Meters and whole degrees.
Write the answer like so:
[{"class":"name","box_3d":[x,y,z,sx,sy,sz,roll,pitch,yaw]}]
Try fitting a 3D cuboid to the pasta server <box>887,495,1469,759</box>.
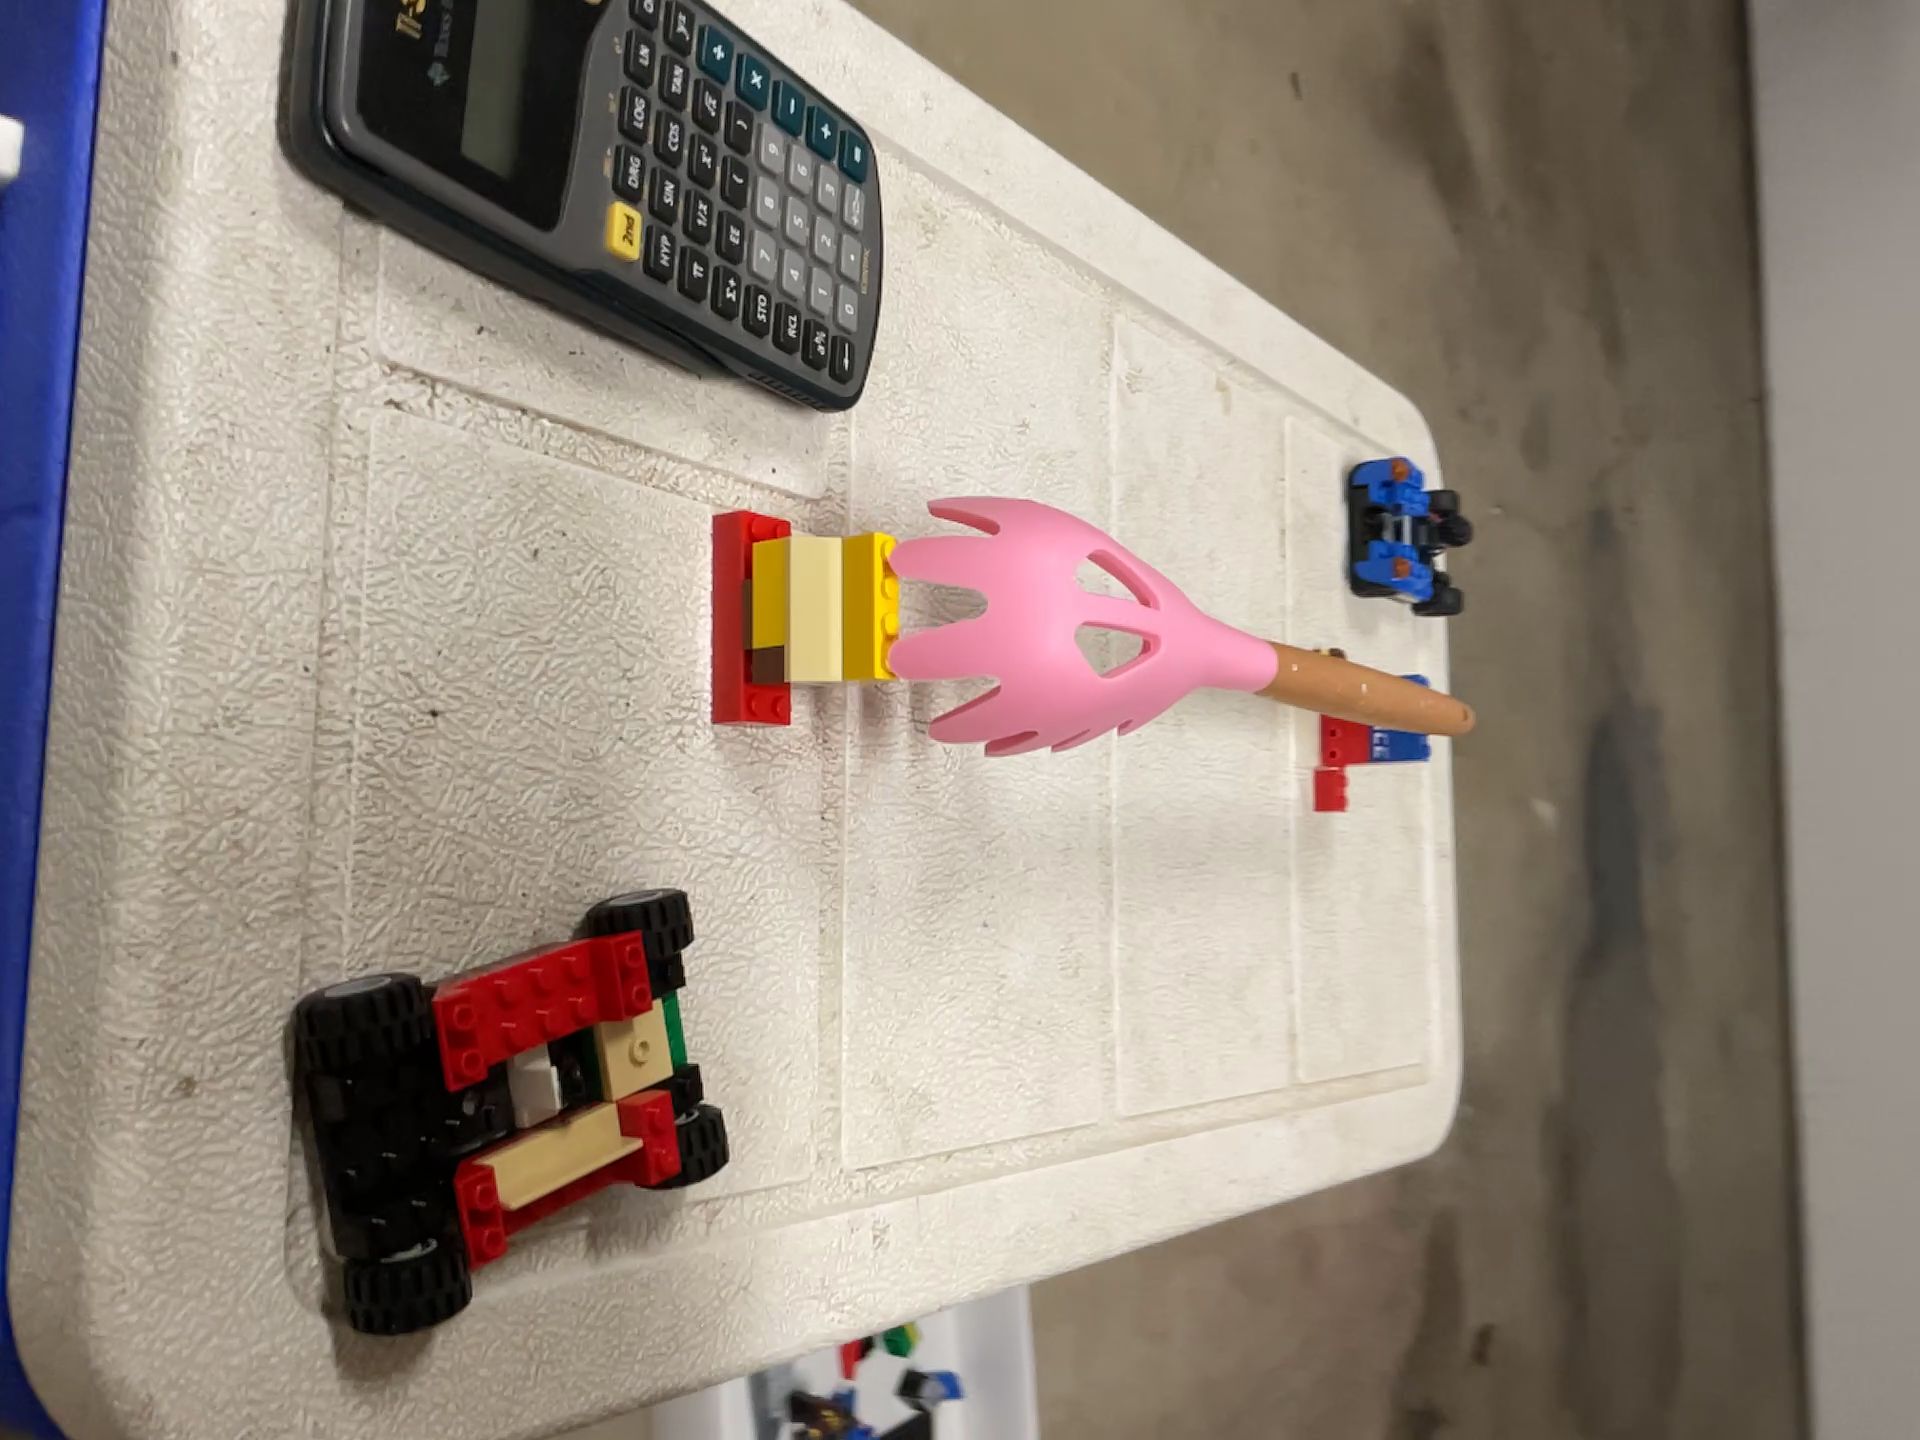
[{"class":"pasta server","box_3d":[0.088,-0.012,0.461,0.316,0.040,0.060,9,78,-56]}]
